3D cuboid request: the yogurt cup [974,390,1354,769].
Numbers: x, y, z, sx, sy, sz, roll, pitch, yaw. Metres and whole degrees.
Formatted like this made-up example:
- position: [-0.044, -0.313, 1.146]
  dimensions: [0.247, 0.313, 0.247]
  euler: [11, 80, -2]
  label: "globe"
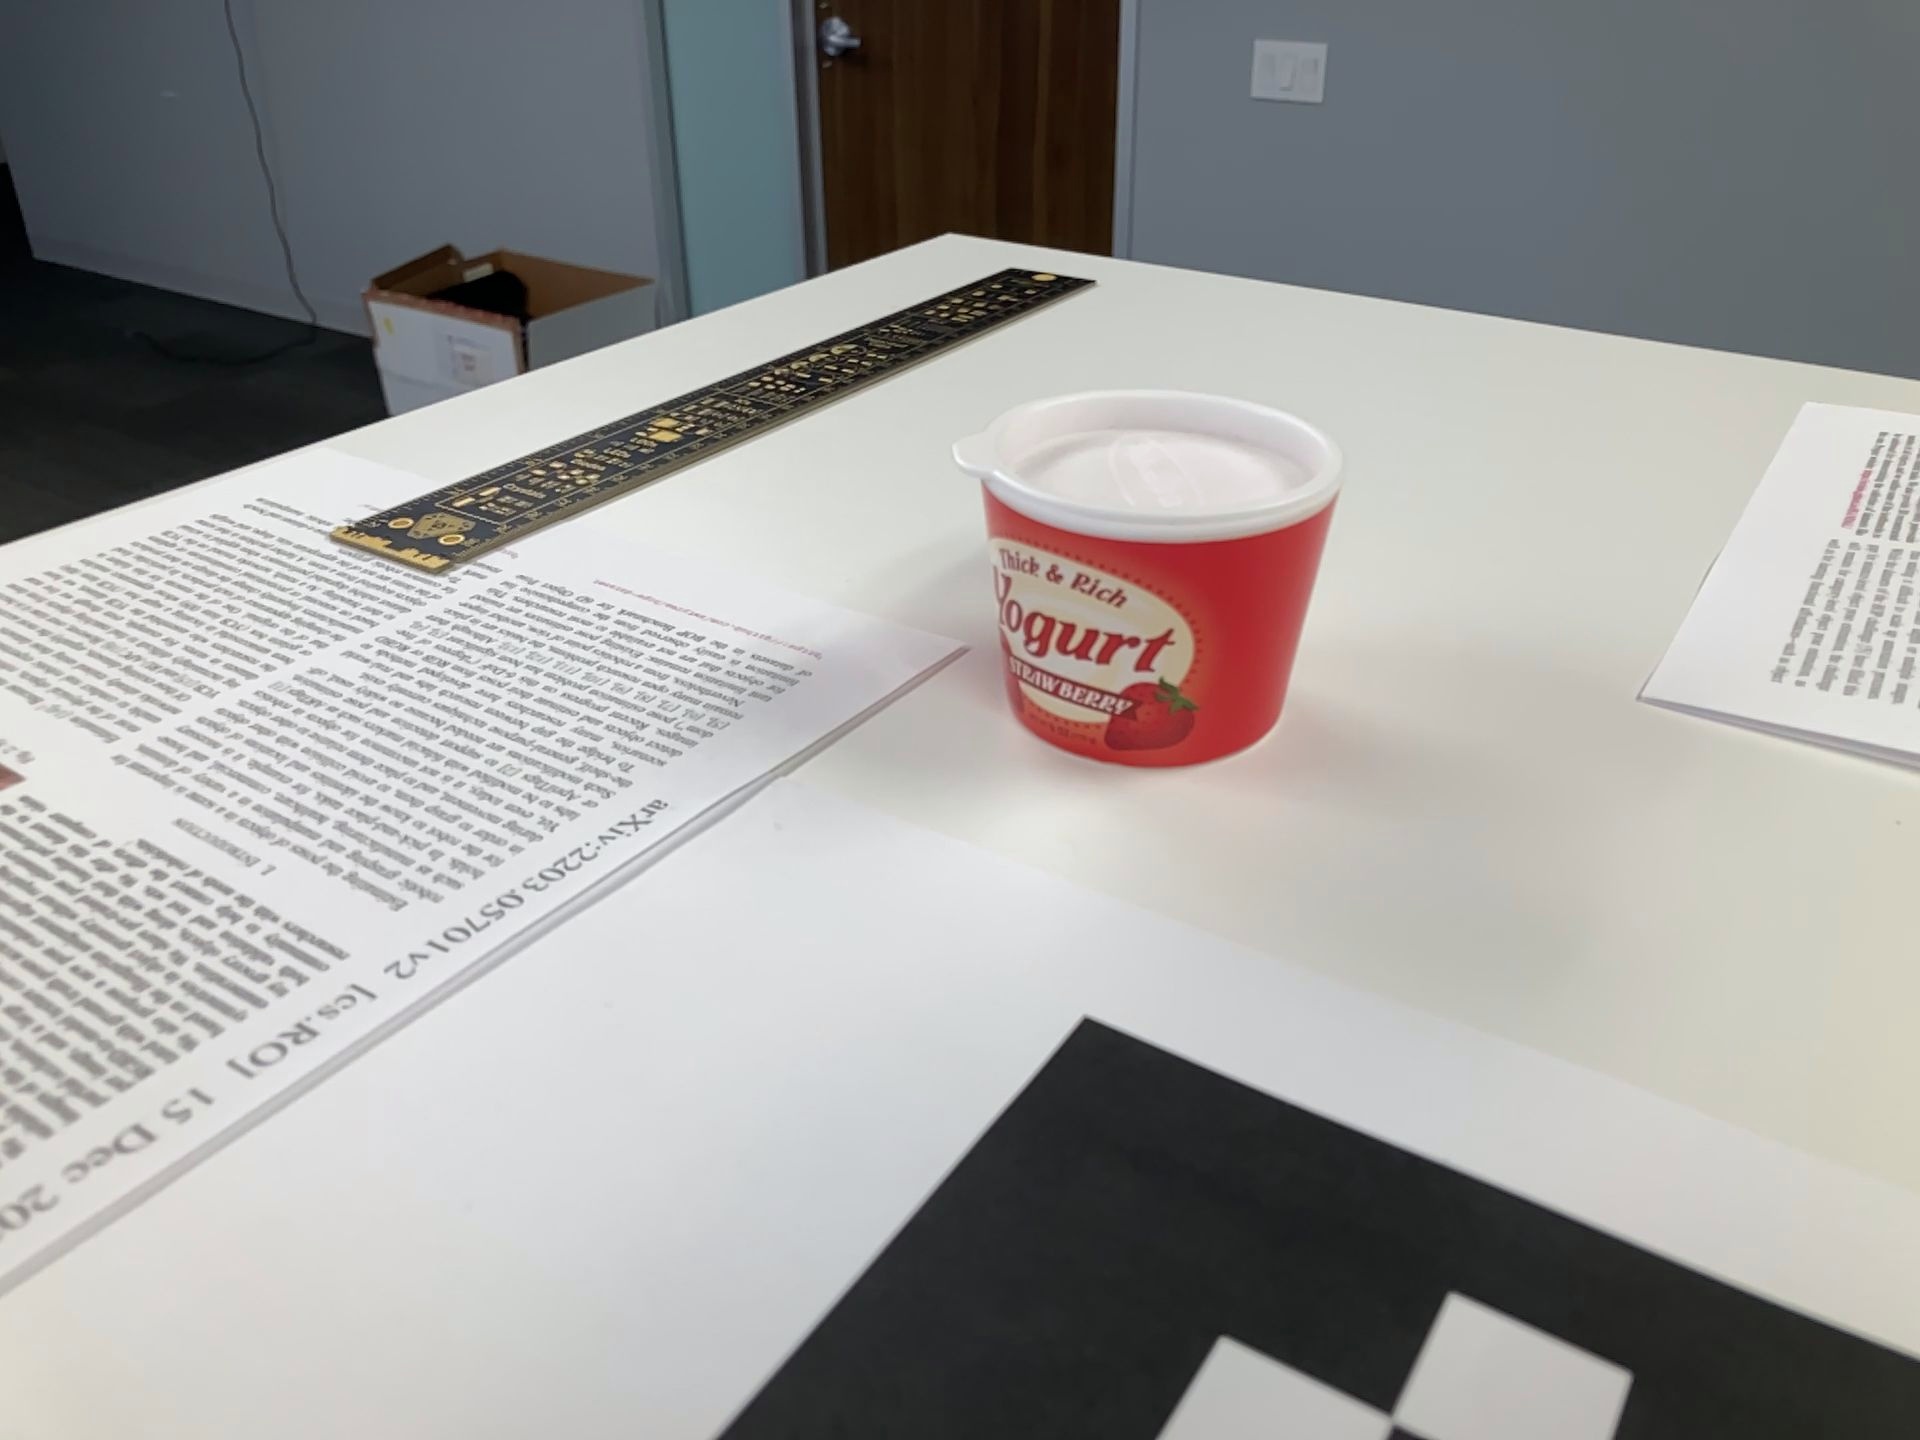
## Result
- position: [0.036, -0.027, 0.299]
  dimensions: [0.072, 0.054, 0.072]
  euler: [1, 29, -1]
  label: "yogurt cup"
